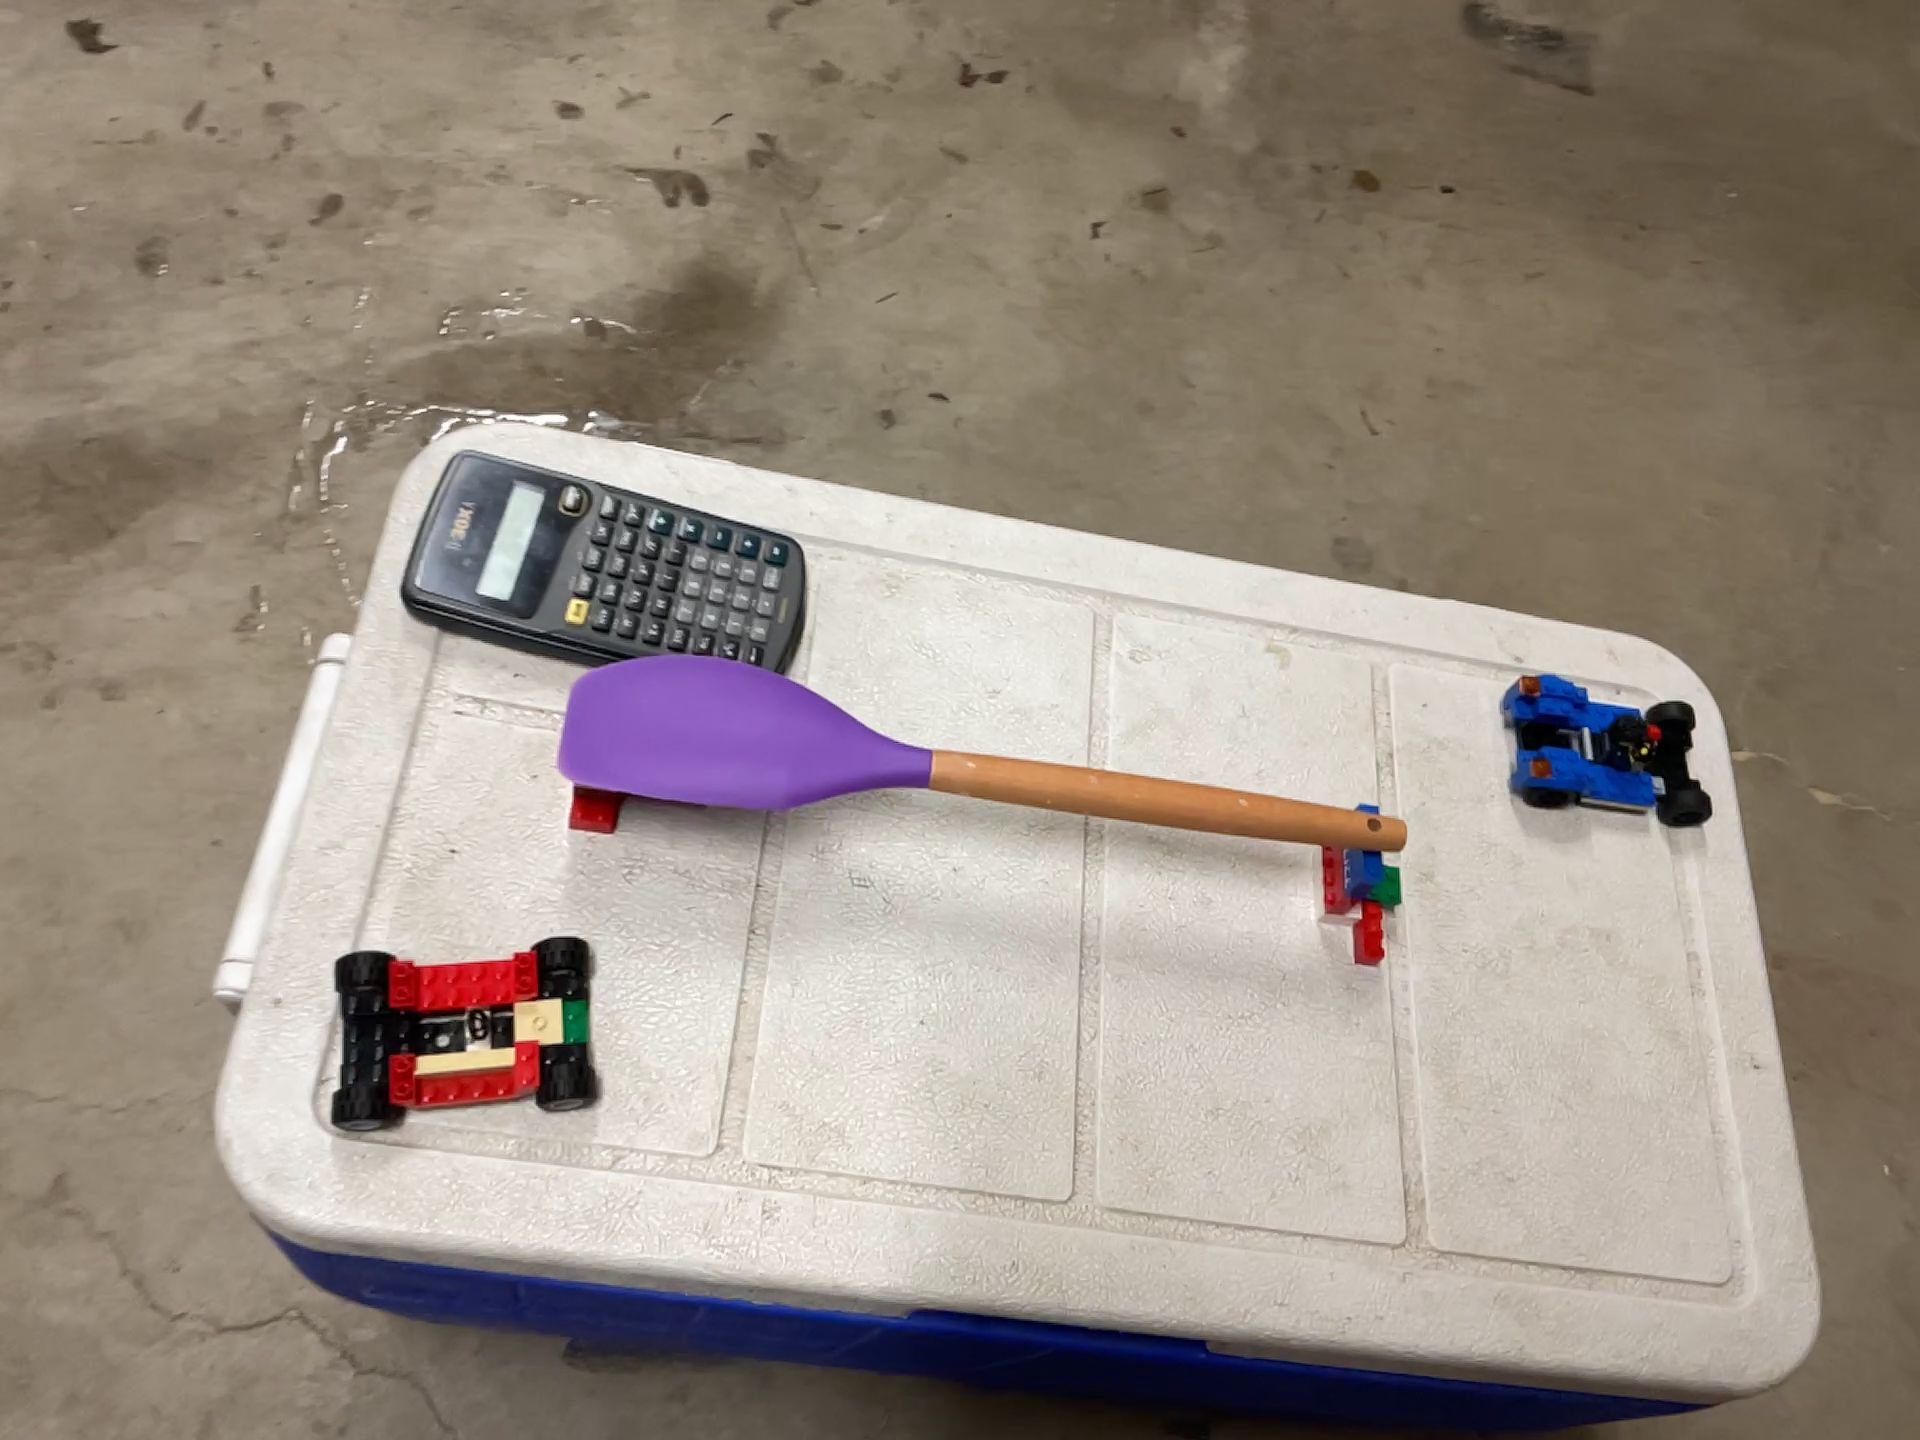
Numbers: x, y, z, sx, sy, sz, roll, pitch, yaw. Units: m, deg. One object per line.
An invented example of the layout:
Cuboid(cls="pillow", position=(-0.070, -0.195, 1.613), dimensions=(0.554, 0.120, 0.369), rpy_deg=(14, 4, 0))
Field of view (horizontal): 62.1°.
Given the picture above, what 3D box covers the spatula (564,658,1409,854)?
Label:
Cuboid(cls="spatula", position=(0.016, 0.021, 0.592), dimensions=(0.316, 0.018, 0.060), rpy_deg=(9, 62, -8))
